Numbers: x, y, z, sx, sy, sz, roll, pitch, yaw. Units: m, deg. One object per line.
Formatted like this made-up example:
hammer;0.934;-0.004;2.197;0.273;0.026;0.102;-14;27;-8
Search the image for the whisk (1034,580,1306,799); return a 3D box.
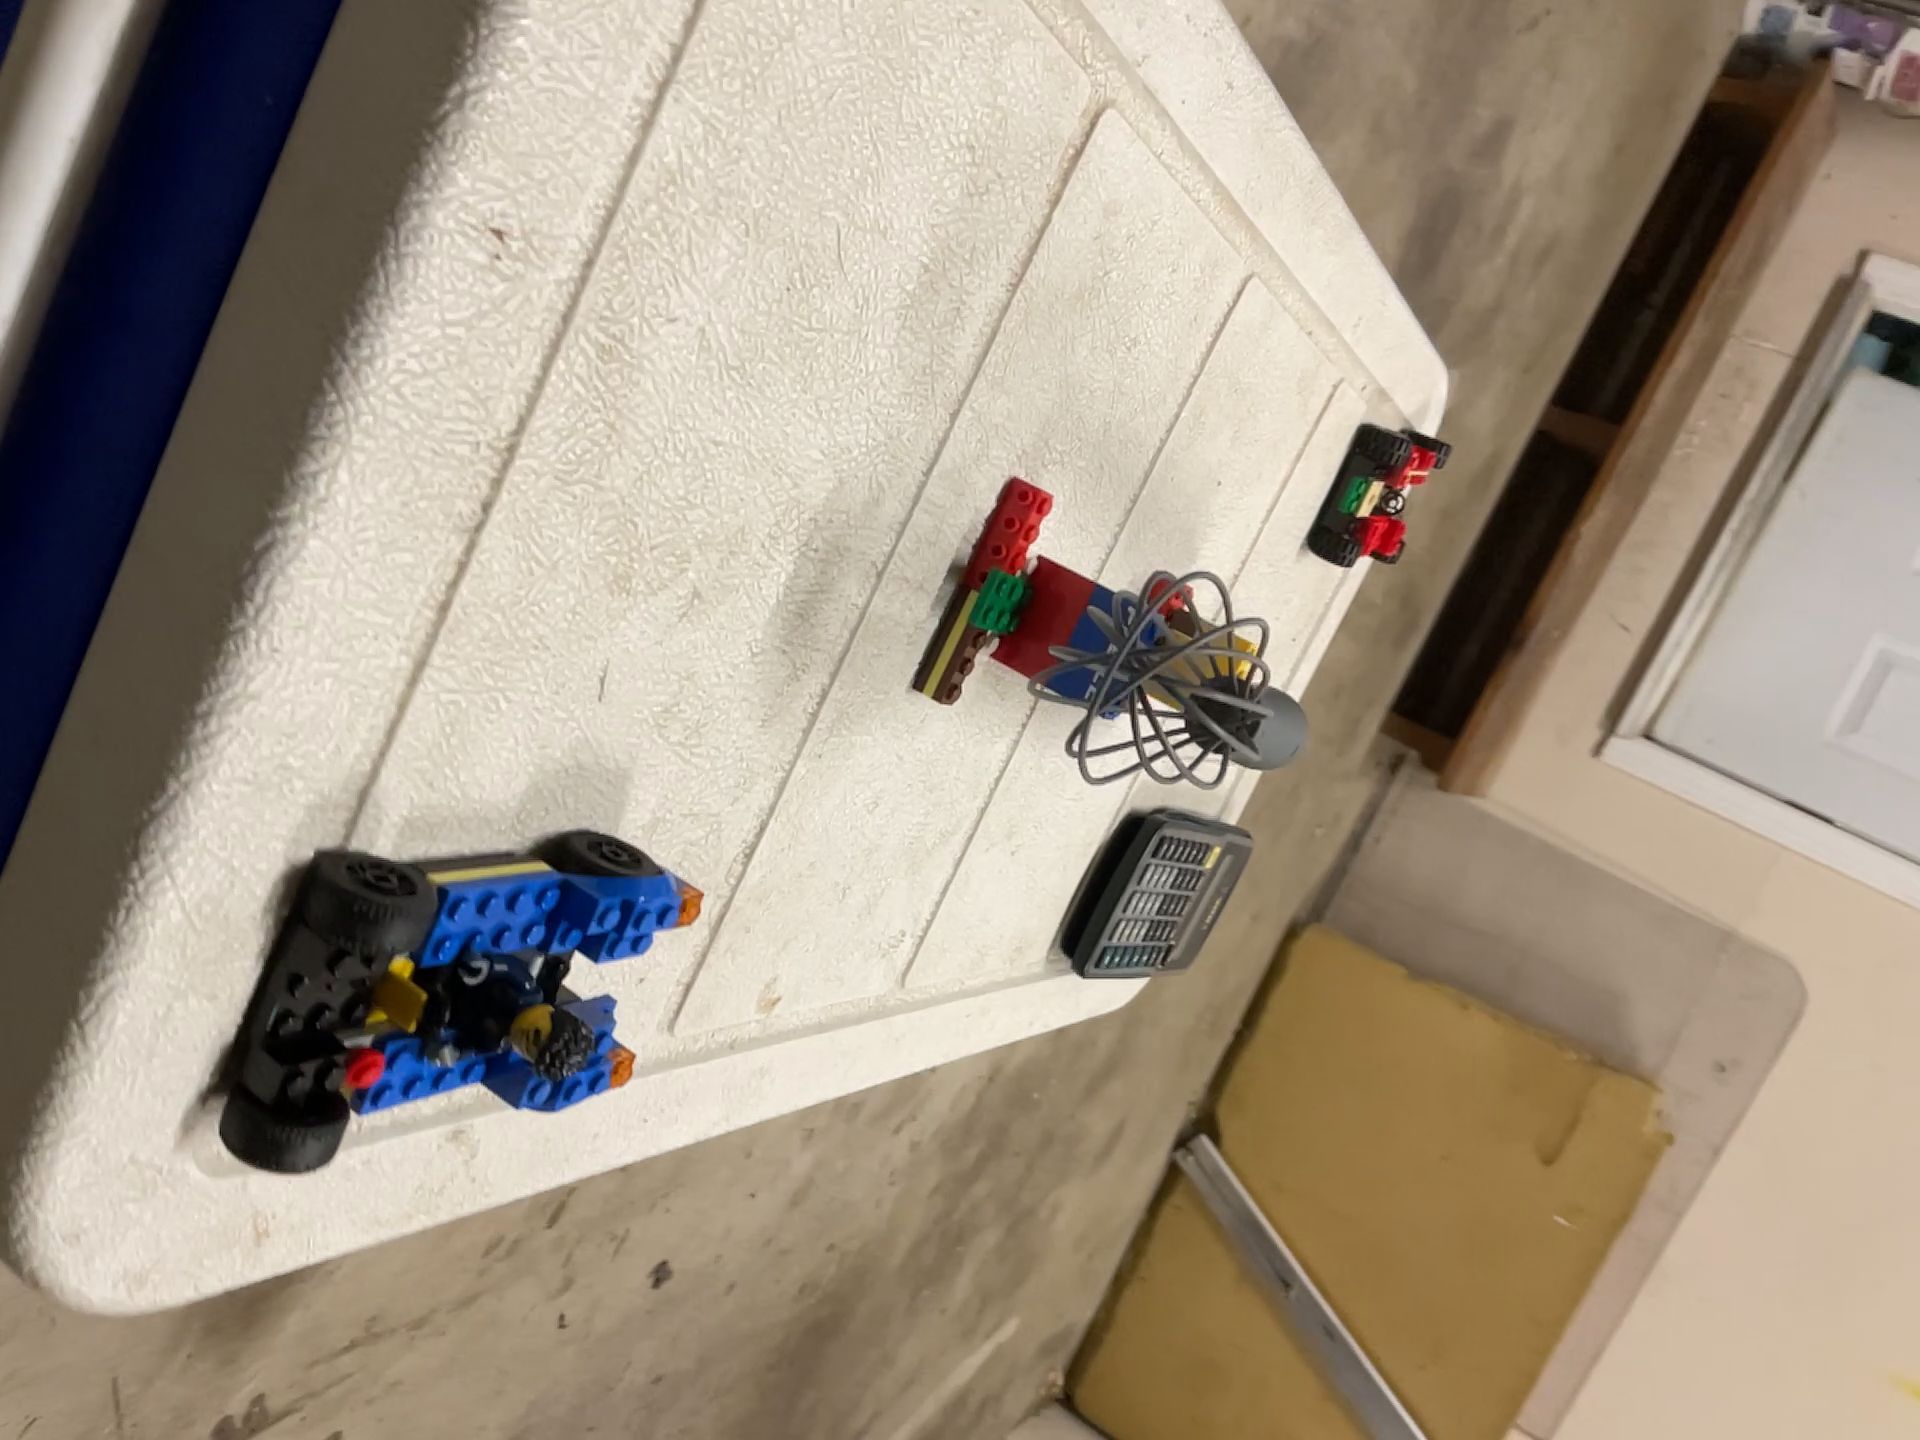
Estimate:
whisk;0.073;-0.001;0.457;0.055;0.055;0.239;-61;161;6
